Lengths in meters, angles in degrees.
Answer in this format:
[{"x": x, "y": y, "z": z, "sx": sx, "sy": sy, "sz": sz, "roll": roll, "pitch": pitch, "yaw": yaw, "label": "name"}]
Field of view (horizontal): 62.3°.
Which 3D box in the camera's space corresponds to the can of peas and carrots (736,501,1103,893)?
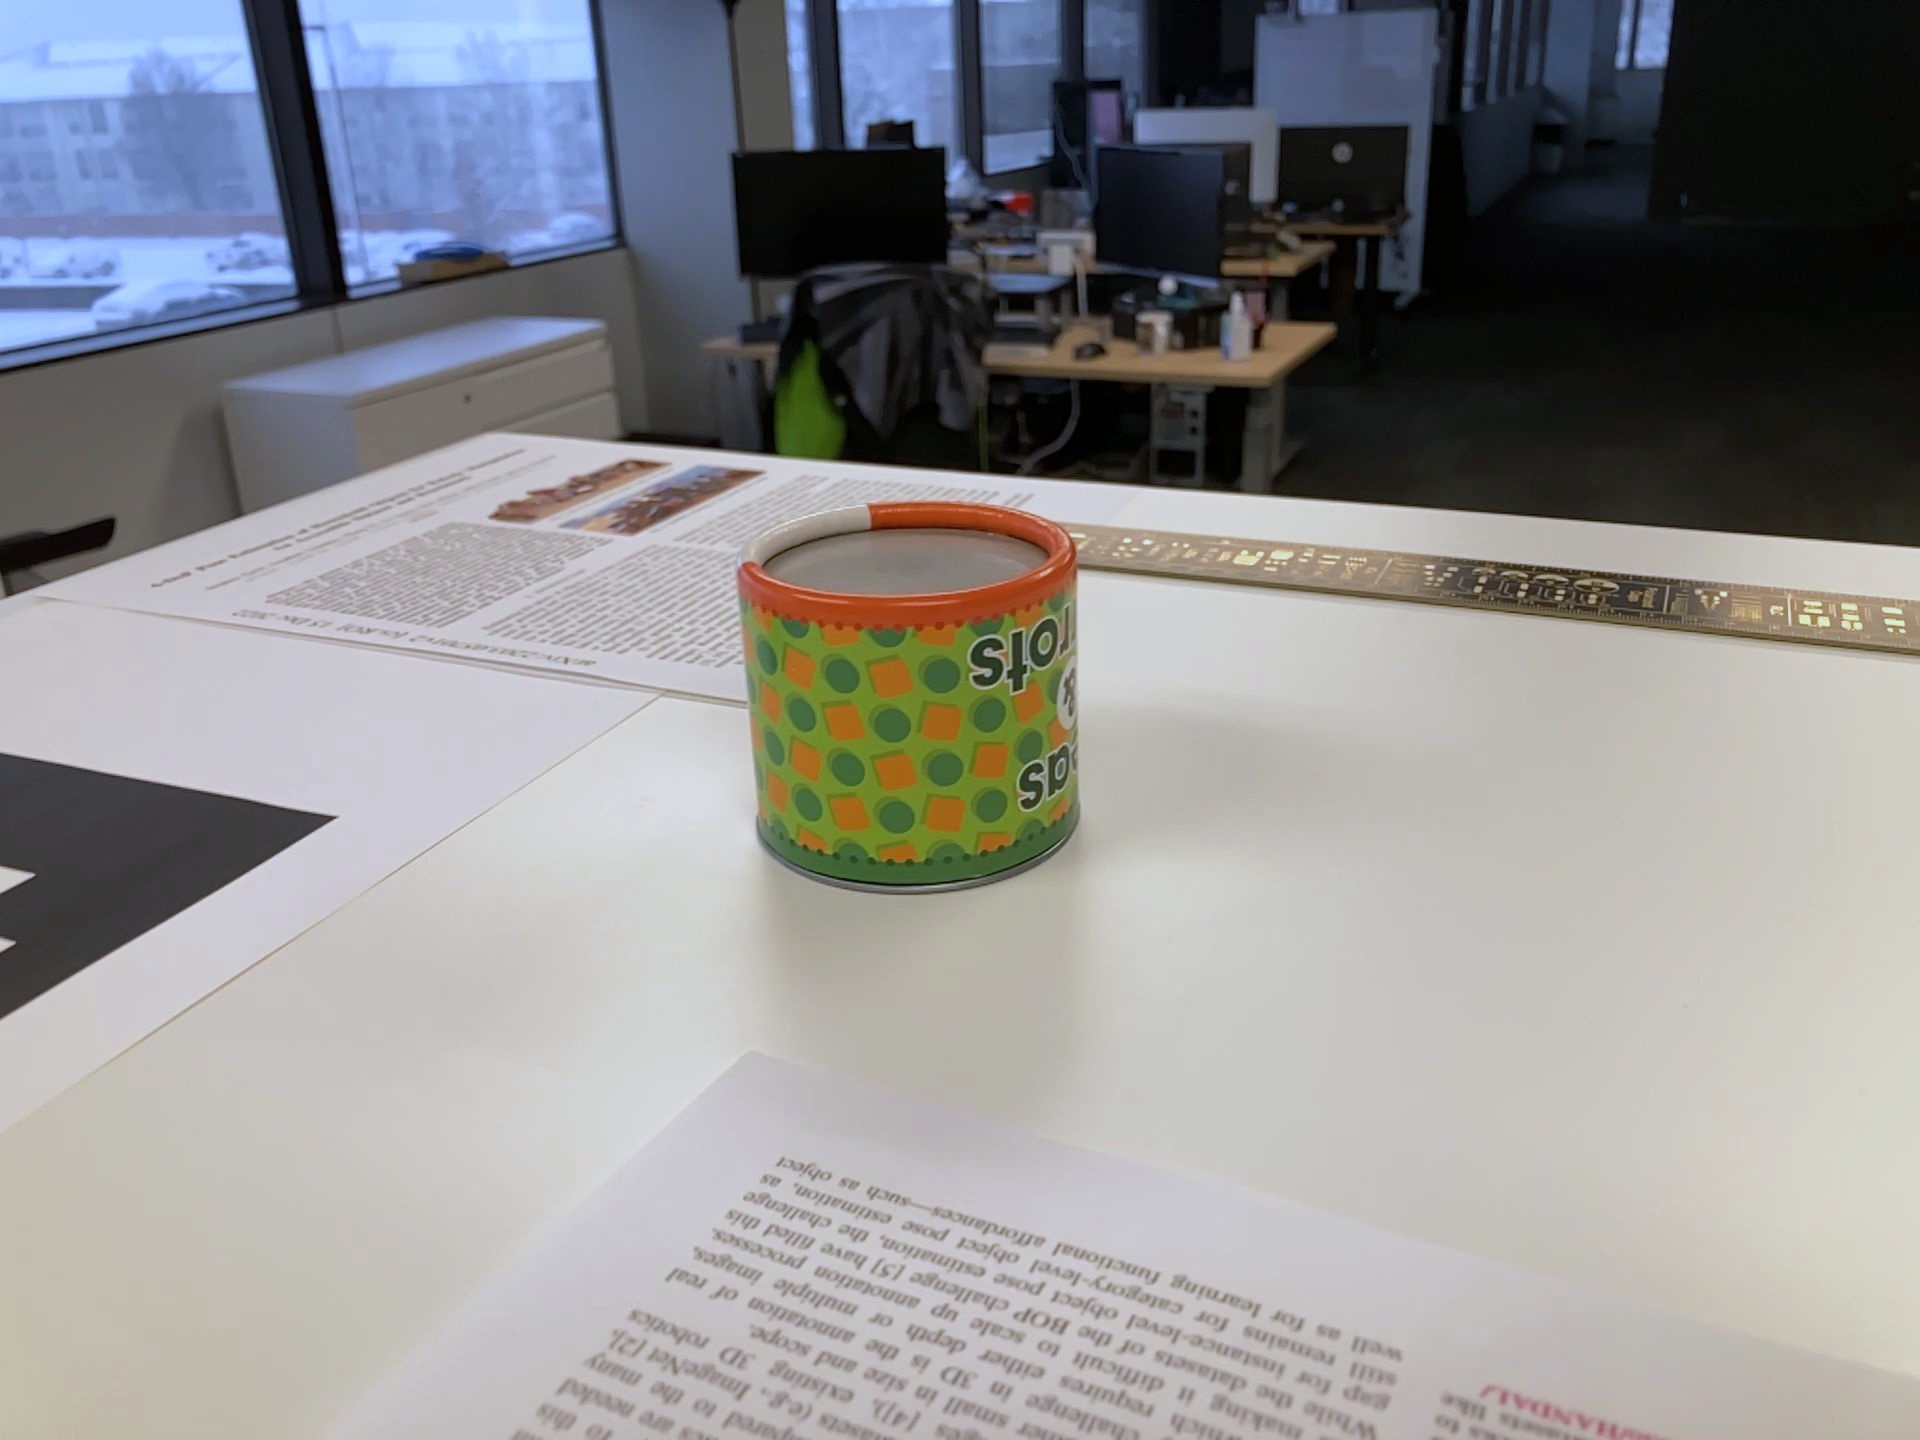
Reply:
[{"x": -0.007, "y": -0.007, "z": 0.314, "sx": 0.071, "sy": 0.059, "sz": 0.071, "roll": -2, "pitch": 23, "yaw": 1, "label": "can of peas and carrots"}]
